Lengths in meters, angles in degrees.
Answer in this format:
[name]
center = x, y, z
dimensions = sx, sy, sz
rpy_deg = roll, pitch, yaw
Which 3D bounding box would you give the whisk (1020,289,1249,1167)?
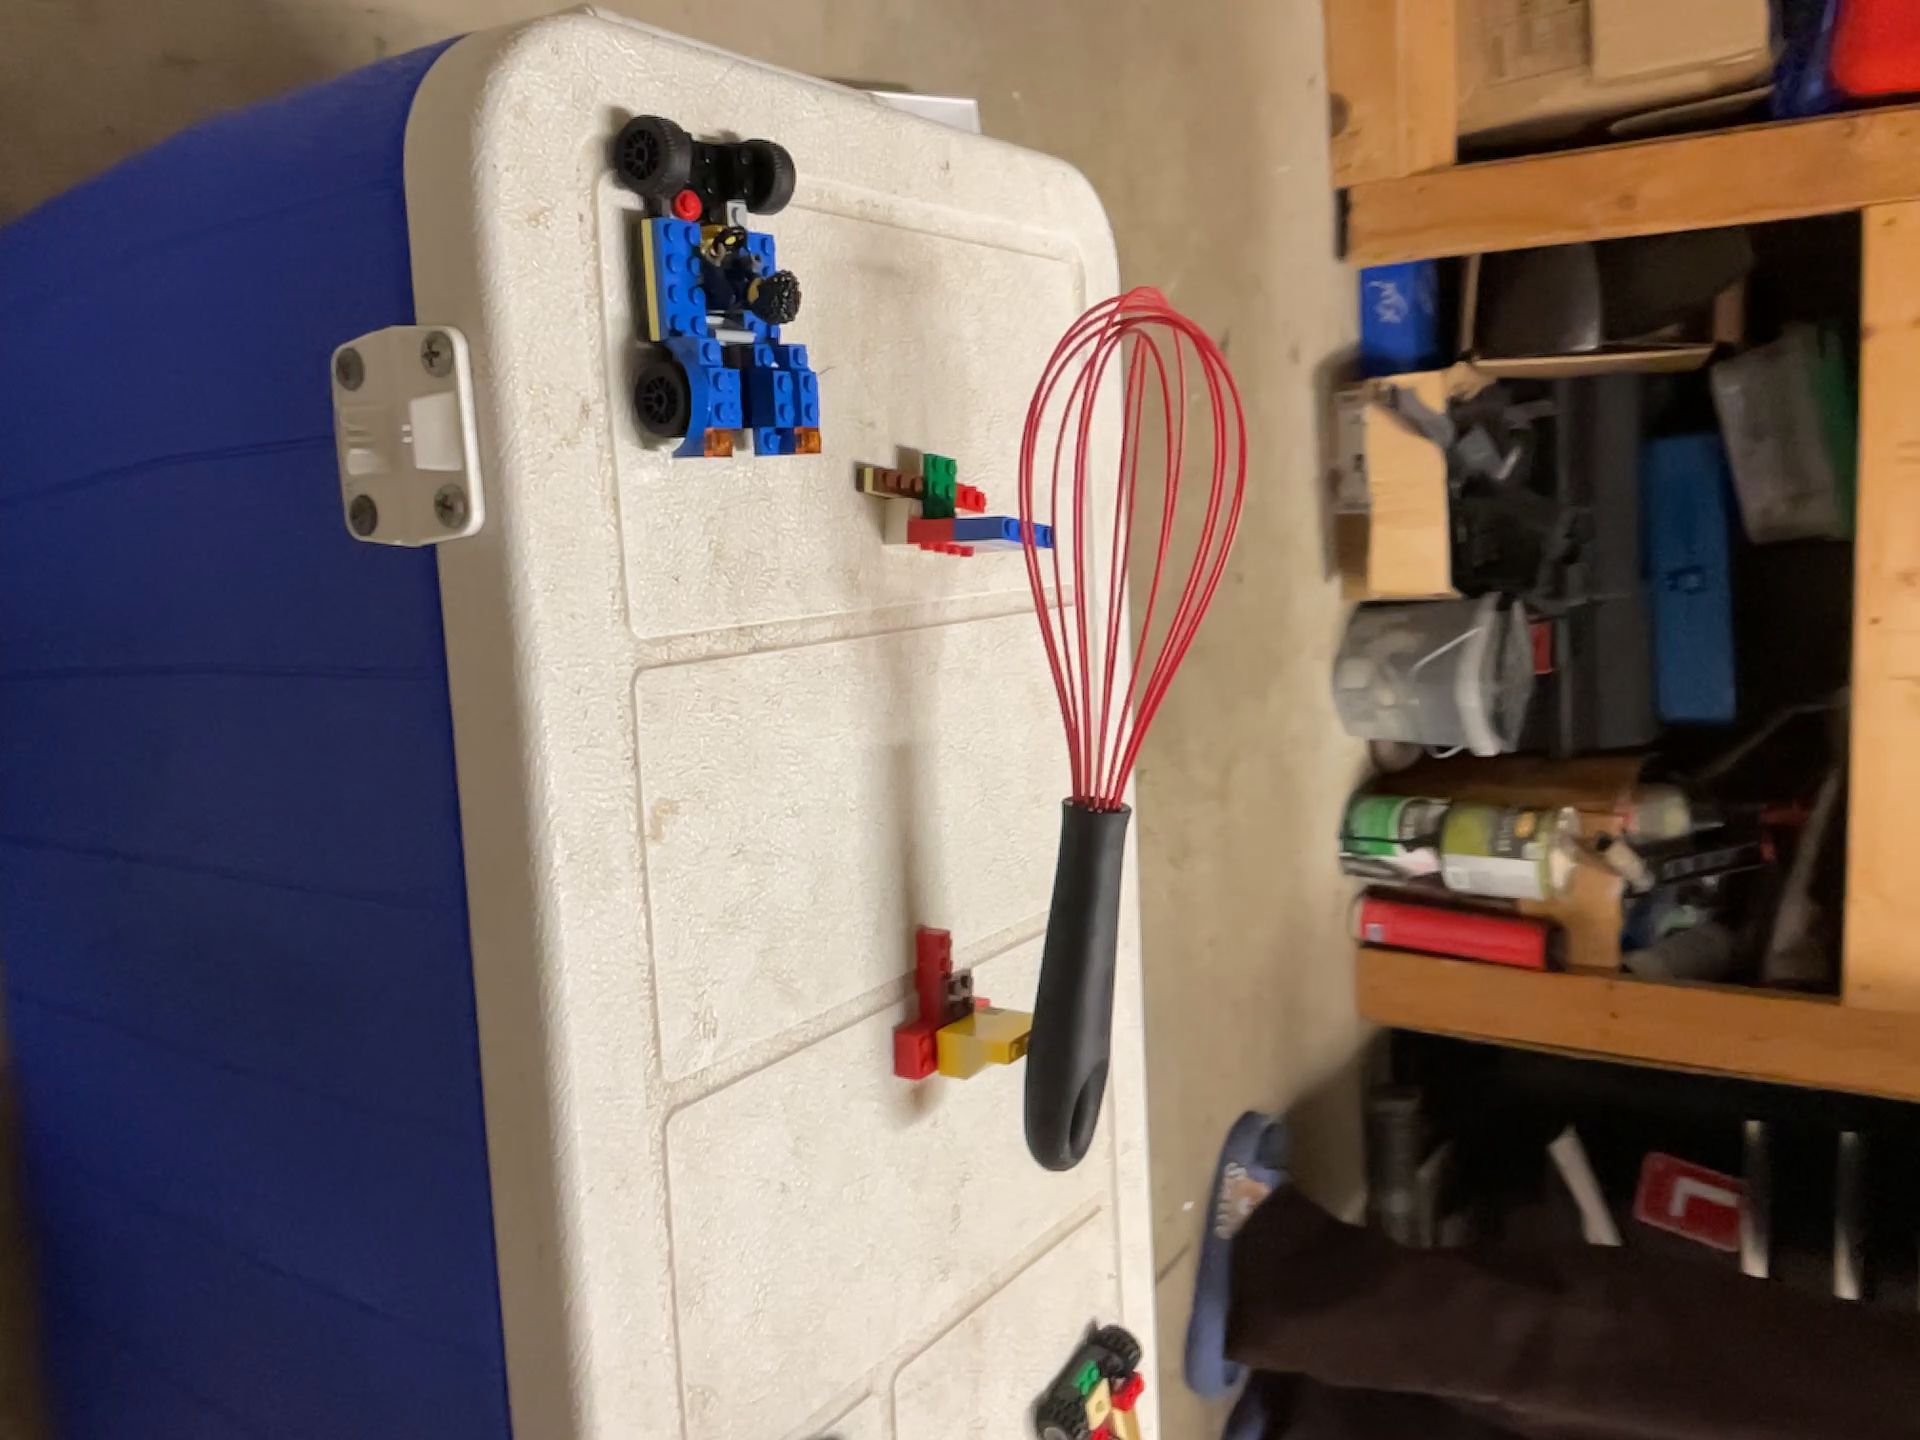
[whisk]
center = 0.047, 0.009, 0.528
dimensions = 0.073, 0.073, 0.295
rpy_deg = -11, 110, -59
